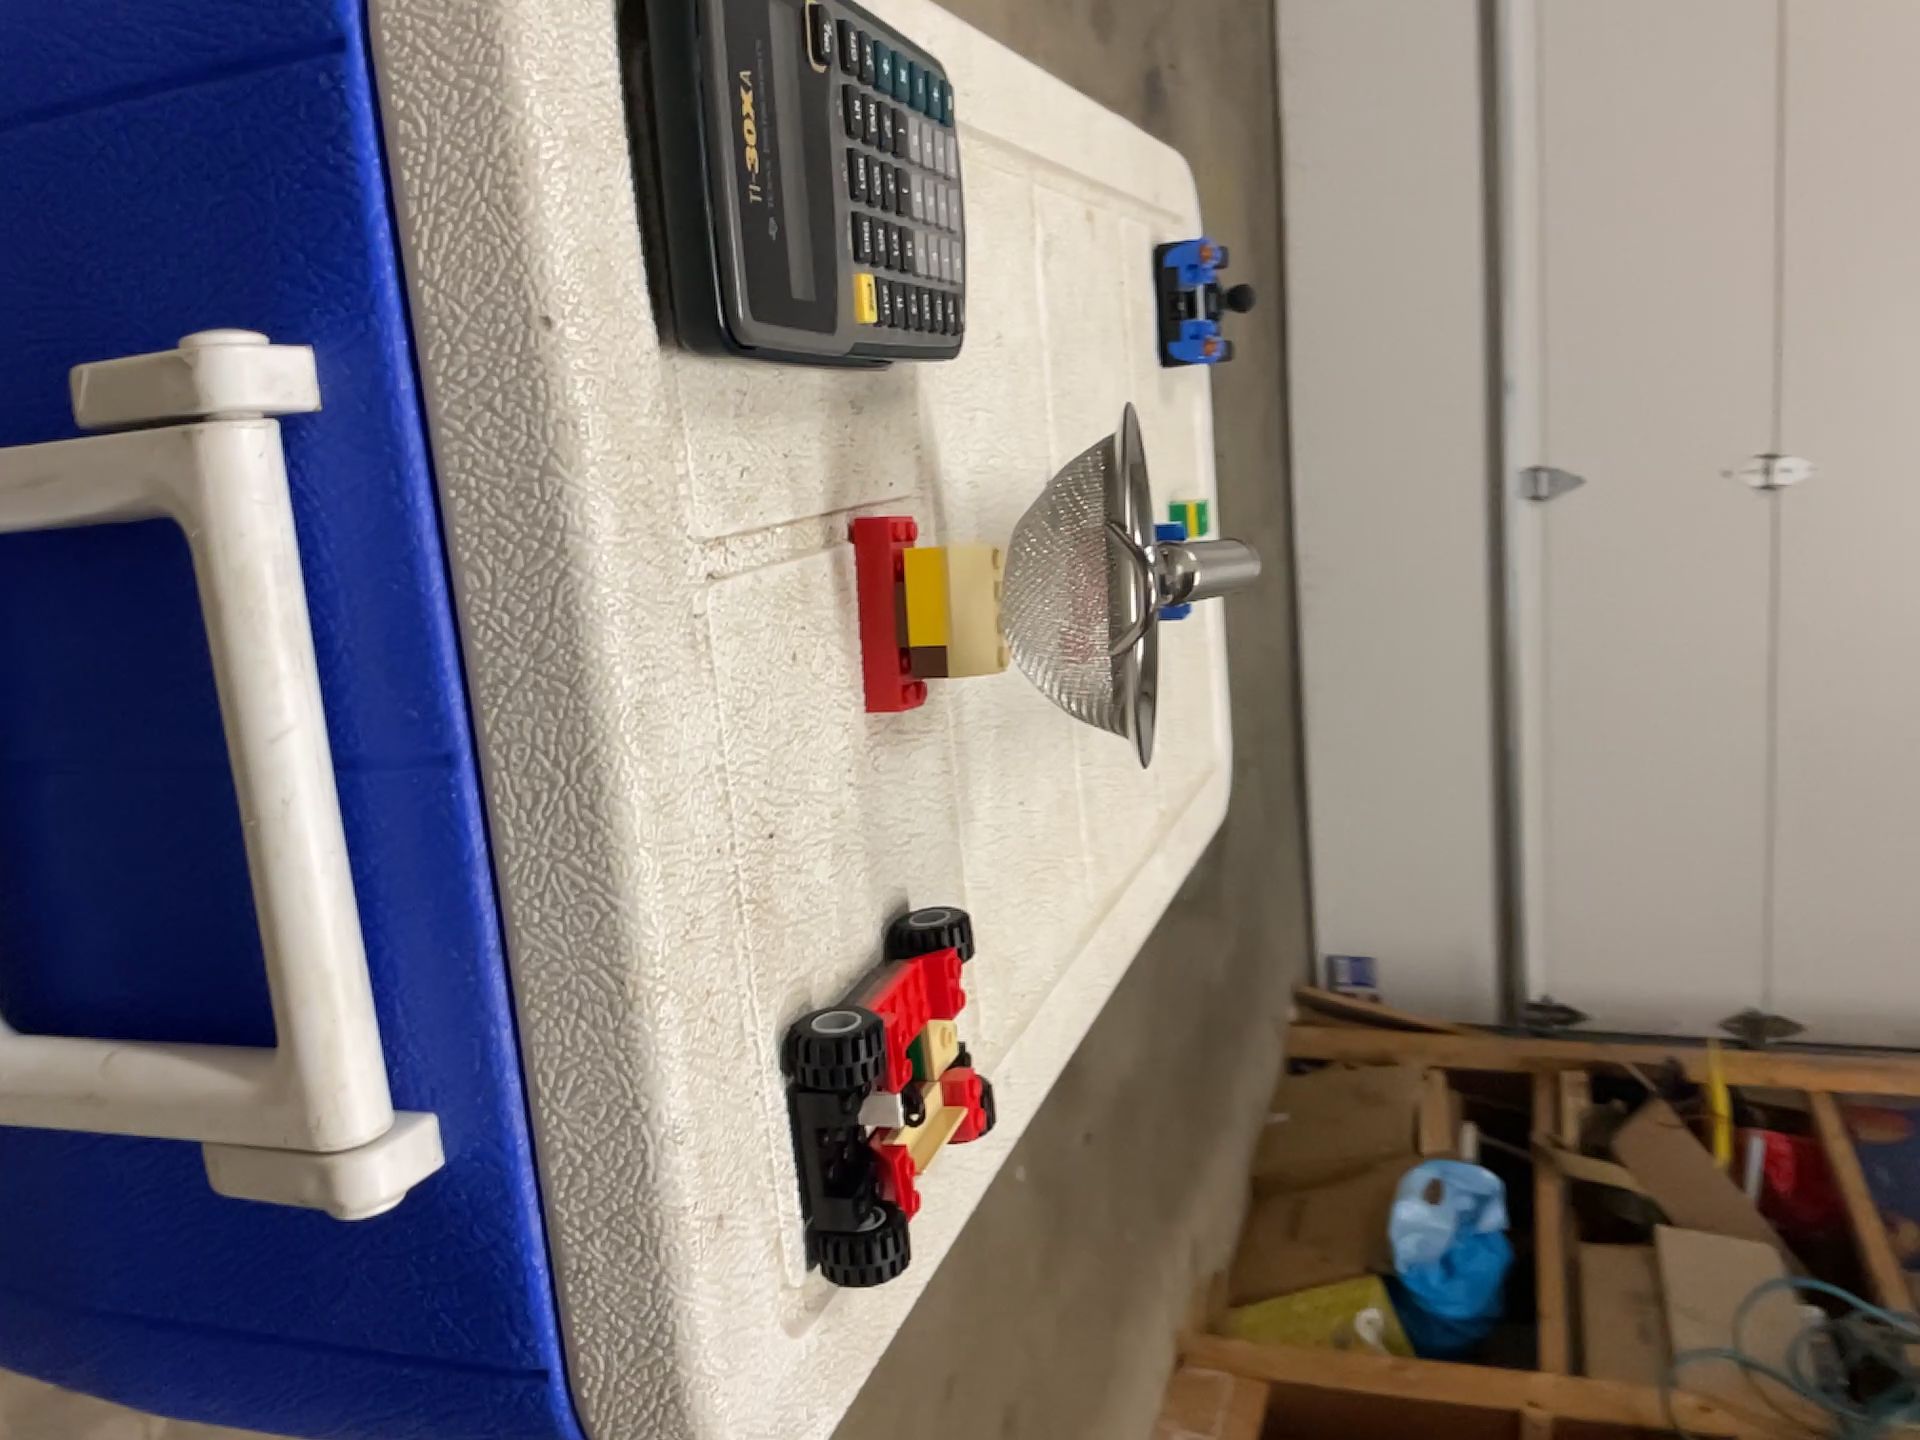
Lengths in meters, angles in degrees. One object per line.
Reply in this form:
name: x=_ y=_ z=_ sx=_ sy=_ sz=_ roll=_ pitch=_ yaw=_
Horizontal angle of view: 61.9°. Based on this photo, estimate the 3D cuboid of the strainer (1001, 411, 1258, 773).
strainer: x=0.056 y=-0.039 z=0.453 sx=0.258 sy=0.050 sz=0.086 roll=-21 pitch=109 yaw=-70
